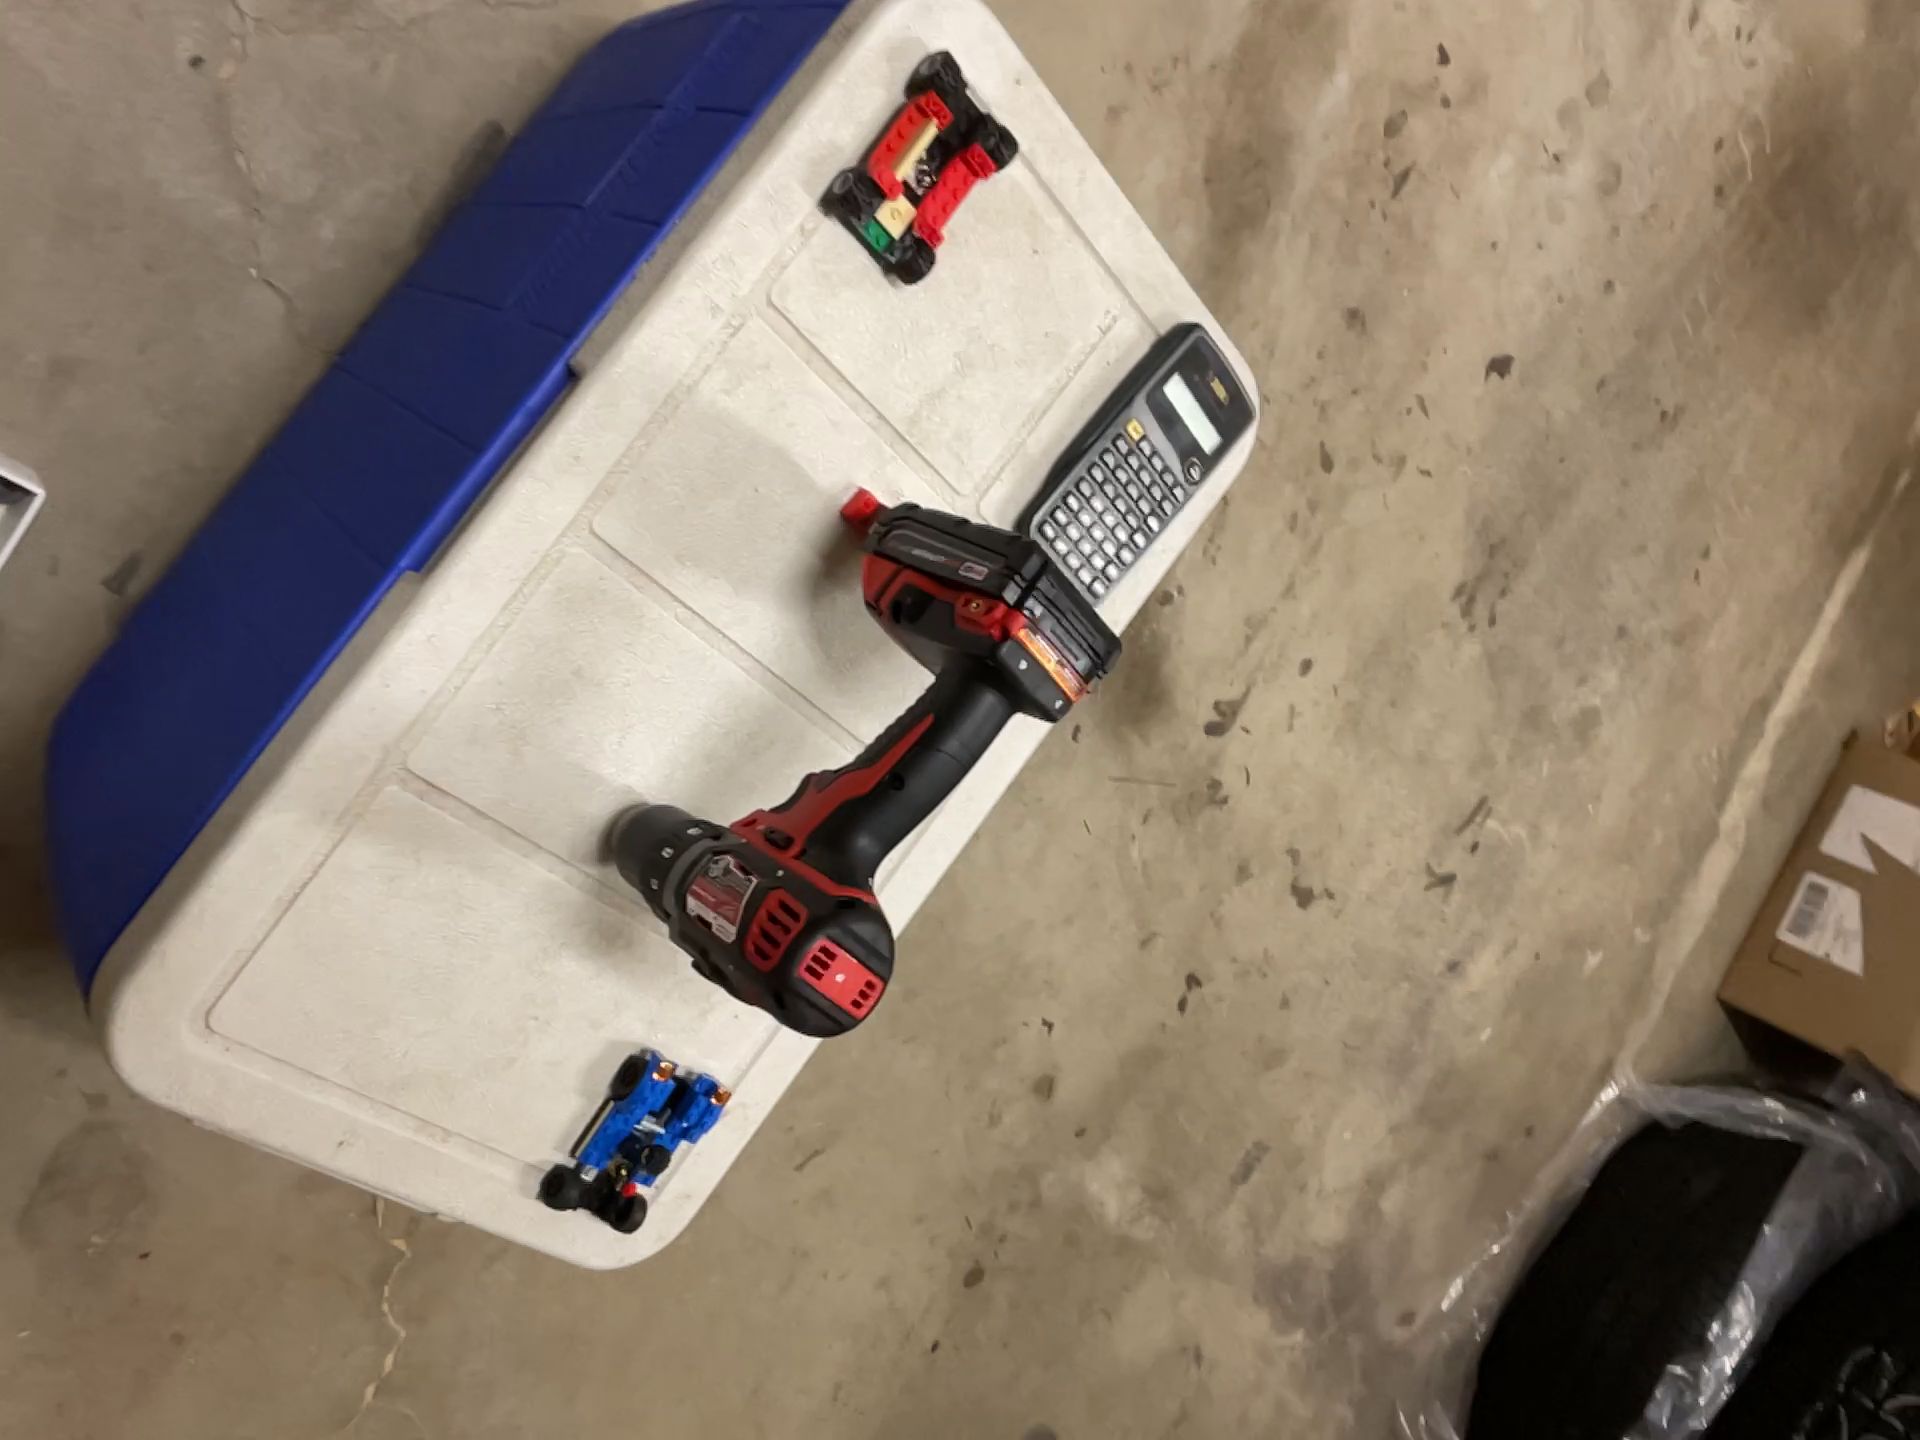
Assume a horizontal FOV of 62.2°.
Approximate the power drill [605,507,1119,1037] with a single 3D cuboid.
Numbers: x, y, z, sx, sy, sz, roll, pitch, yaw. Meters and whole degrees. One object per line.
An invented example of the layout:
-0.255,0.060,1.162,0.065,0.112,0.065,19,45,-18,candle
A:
-0.056,0.016,0.724,0.227,0.188,0.080,-54,131,-11,power drill
